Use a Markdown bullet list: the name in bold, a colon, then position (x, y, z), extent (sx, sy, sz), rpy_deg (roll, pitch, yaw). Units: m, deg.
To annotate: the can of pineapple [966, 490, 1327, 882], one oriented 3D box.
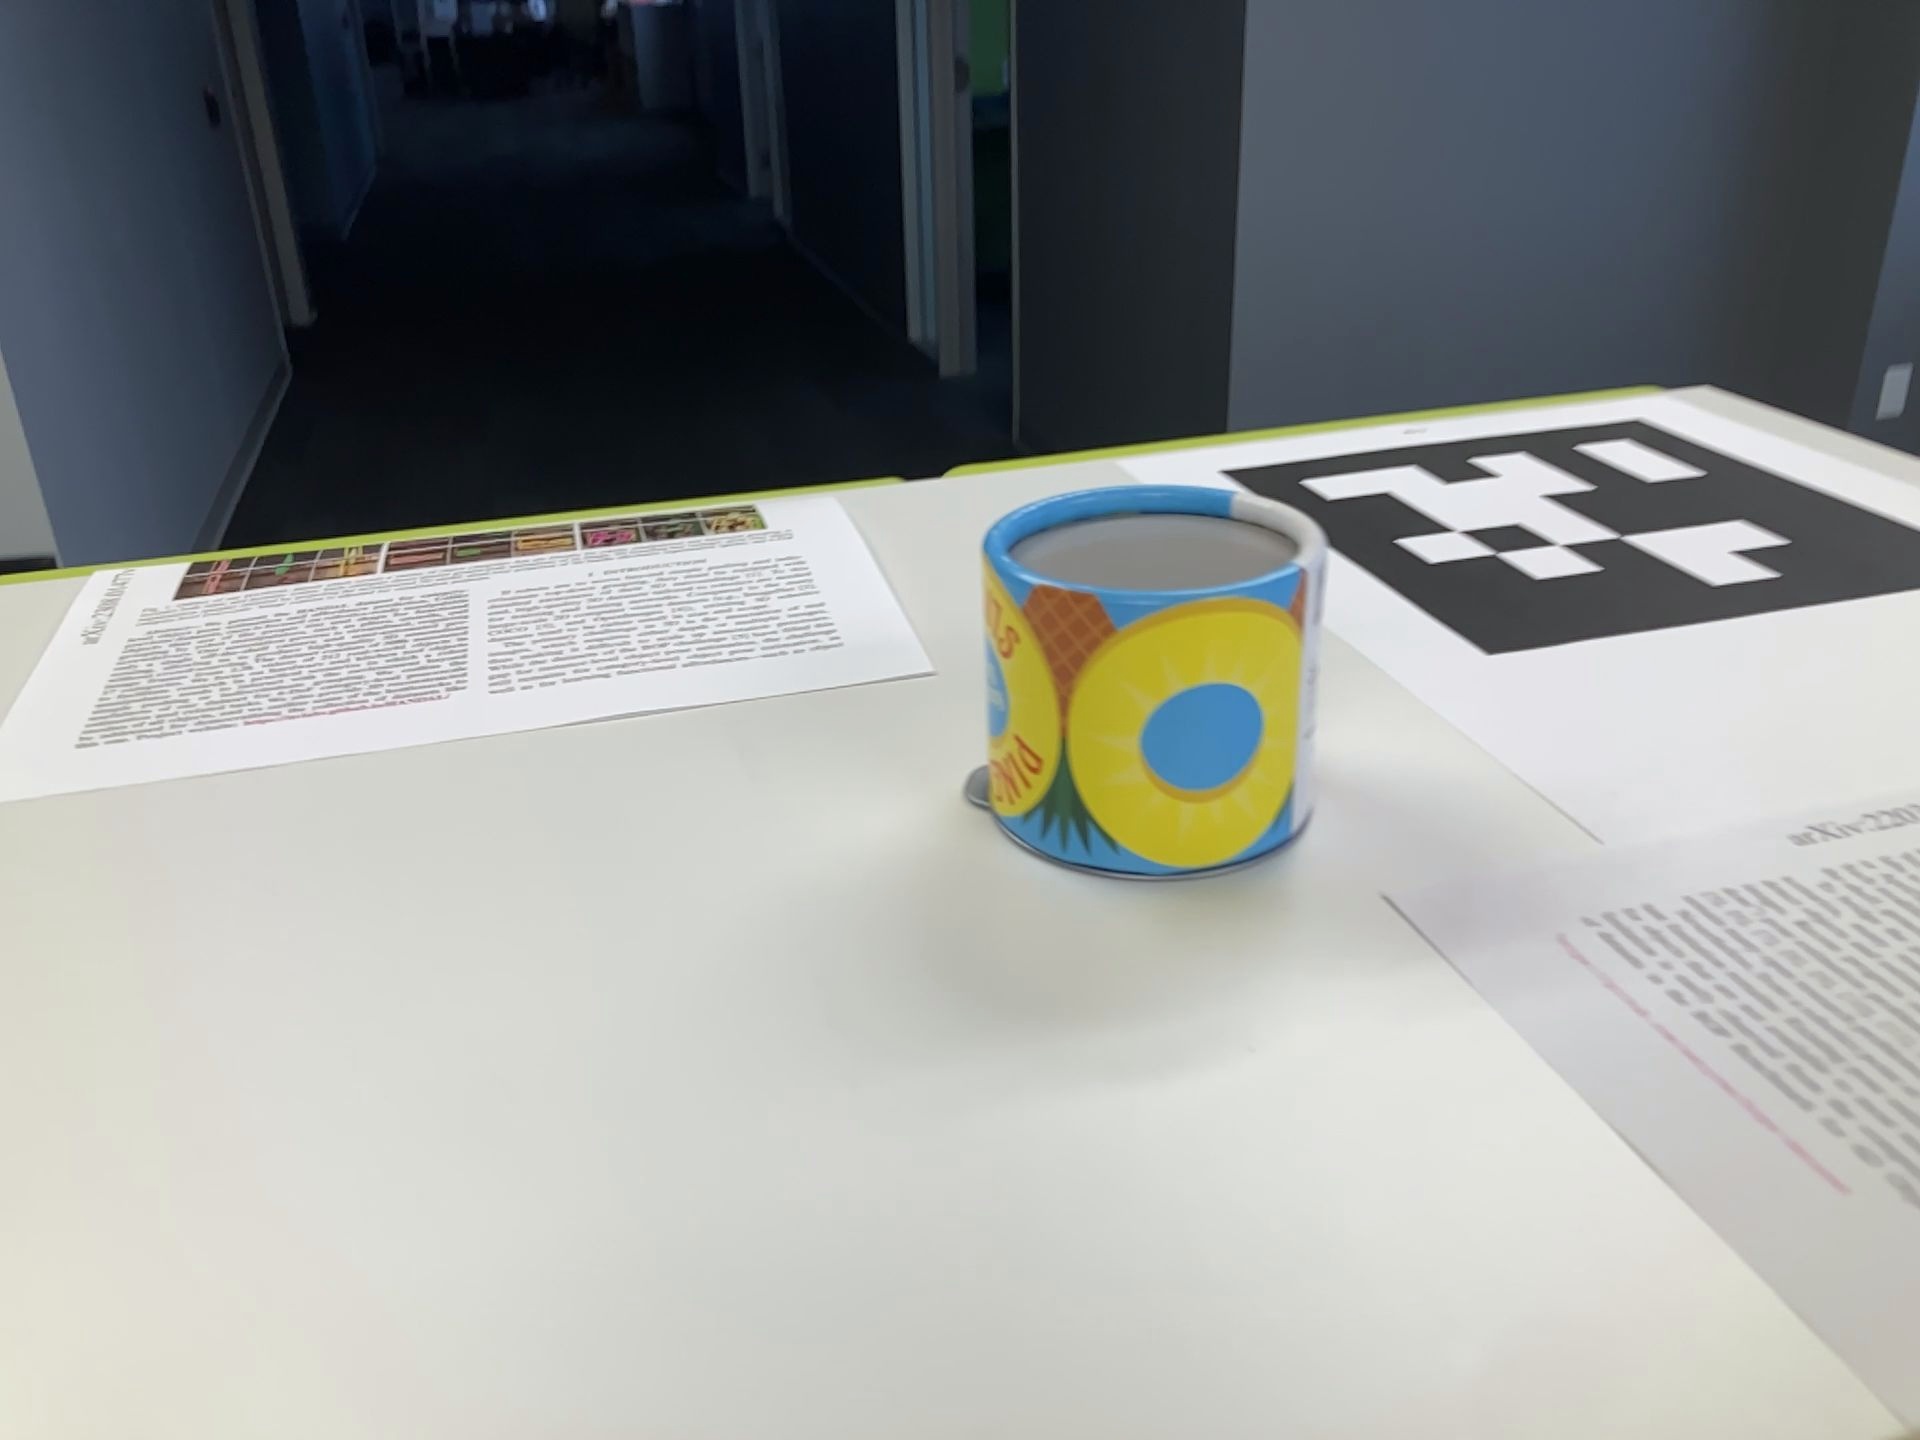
- **can of pineapple**: position (0.036, -0.009, 0.315), extent (0.071, 0.058, 0.071), rpy_deg (-2, 25, 1)
